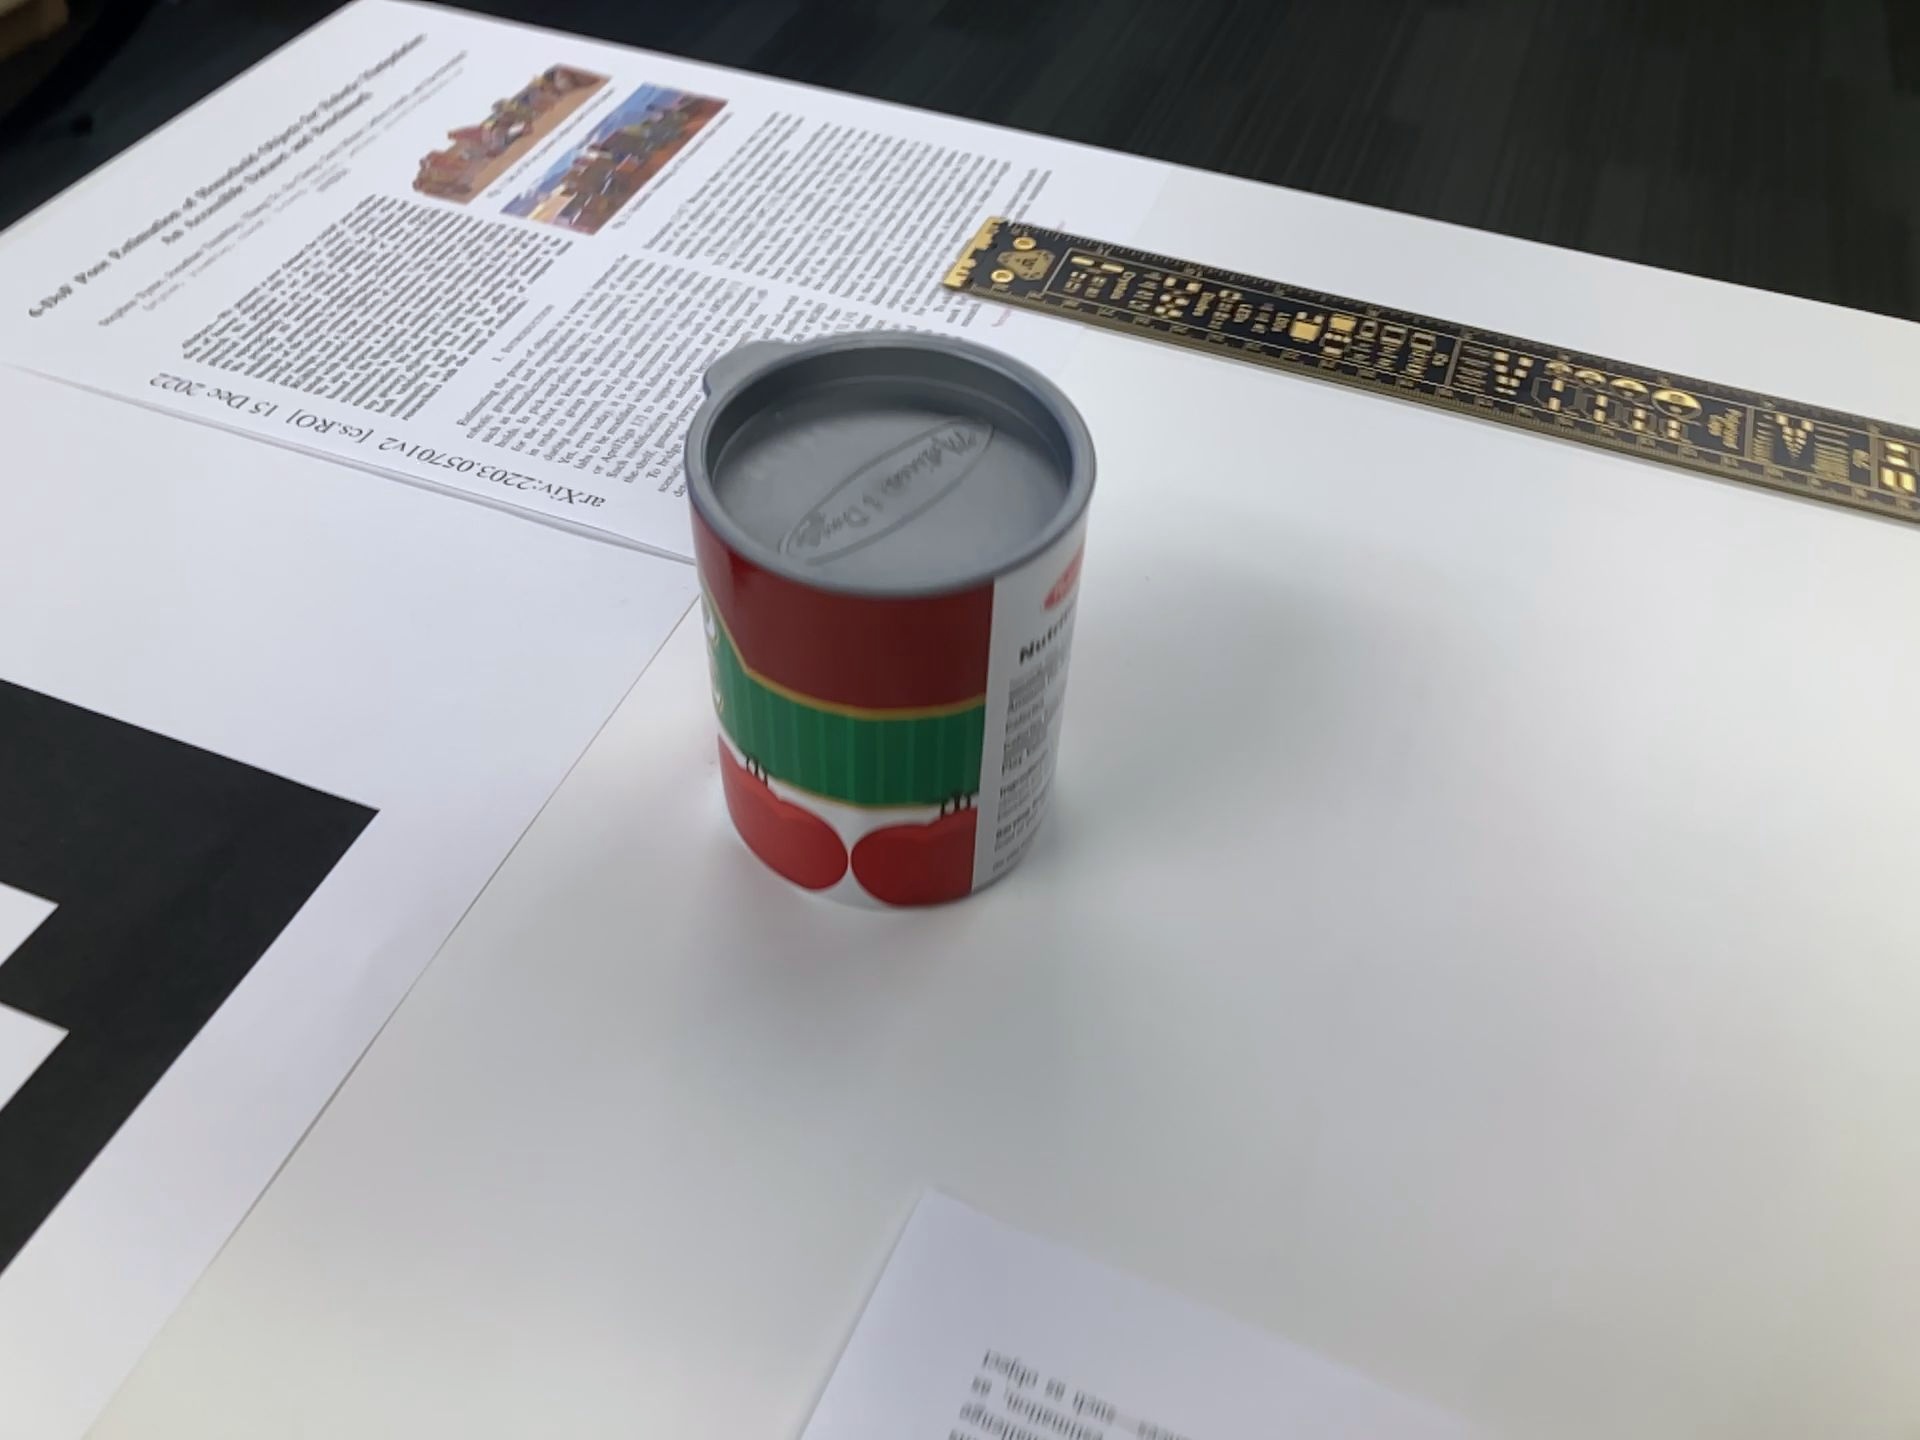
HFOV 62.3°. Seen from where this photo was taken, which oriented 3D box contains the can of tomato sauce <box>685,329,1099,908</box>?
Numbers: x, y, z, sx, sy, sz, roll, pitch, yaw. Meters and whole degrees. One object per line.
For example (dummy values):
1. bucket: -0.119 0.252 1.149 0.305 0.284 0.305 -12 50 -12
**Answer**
1. can of tomato sauce: -0.014 -0.017 0.286 0.071 0.083 0.071 2 47 -2
